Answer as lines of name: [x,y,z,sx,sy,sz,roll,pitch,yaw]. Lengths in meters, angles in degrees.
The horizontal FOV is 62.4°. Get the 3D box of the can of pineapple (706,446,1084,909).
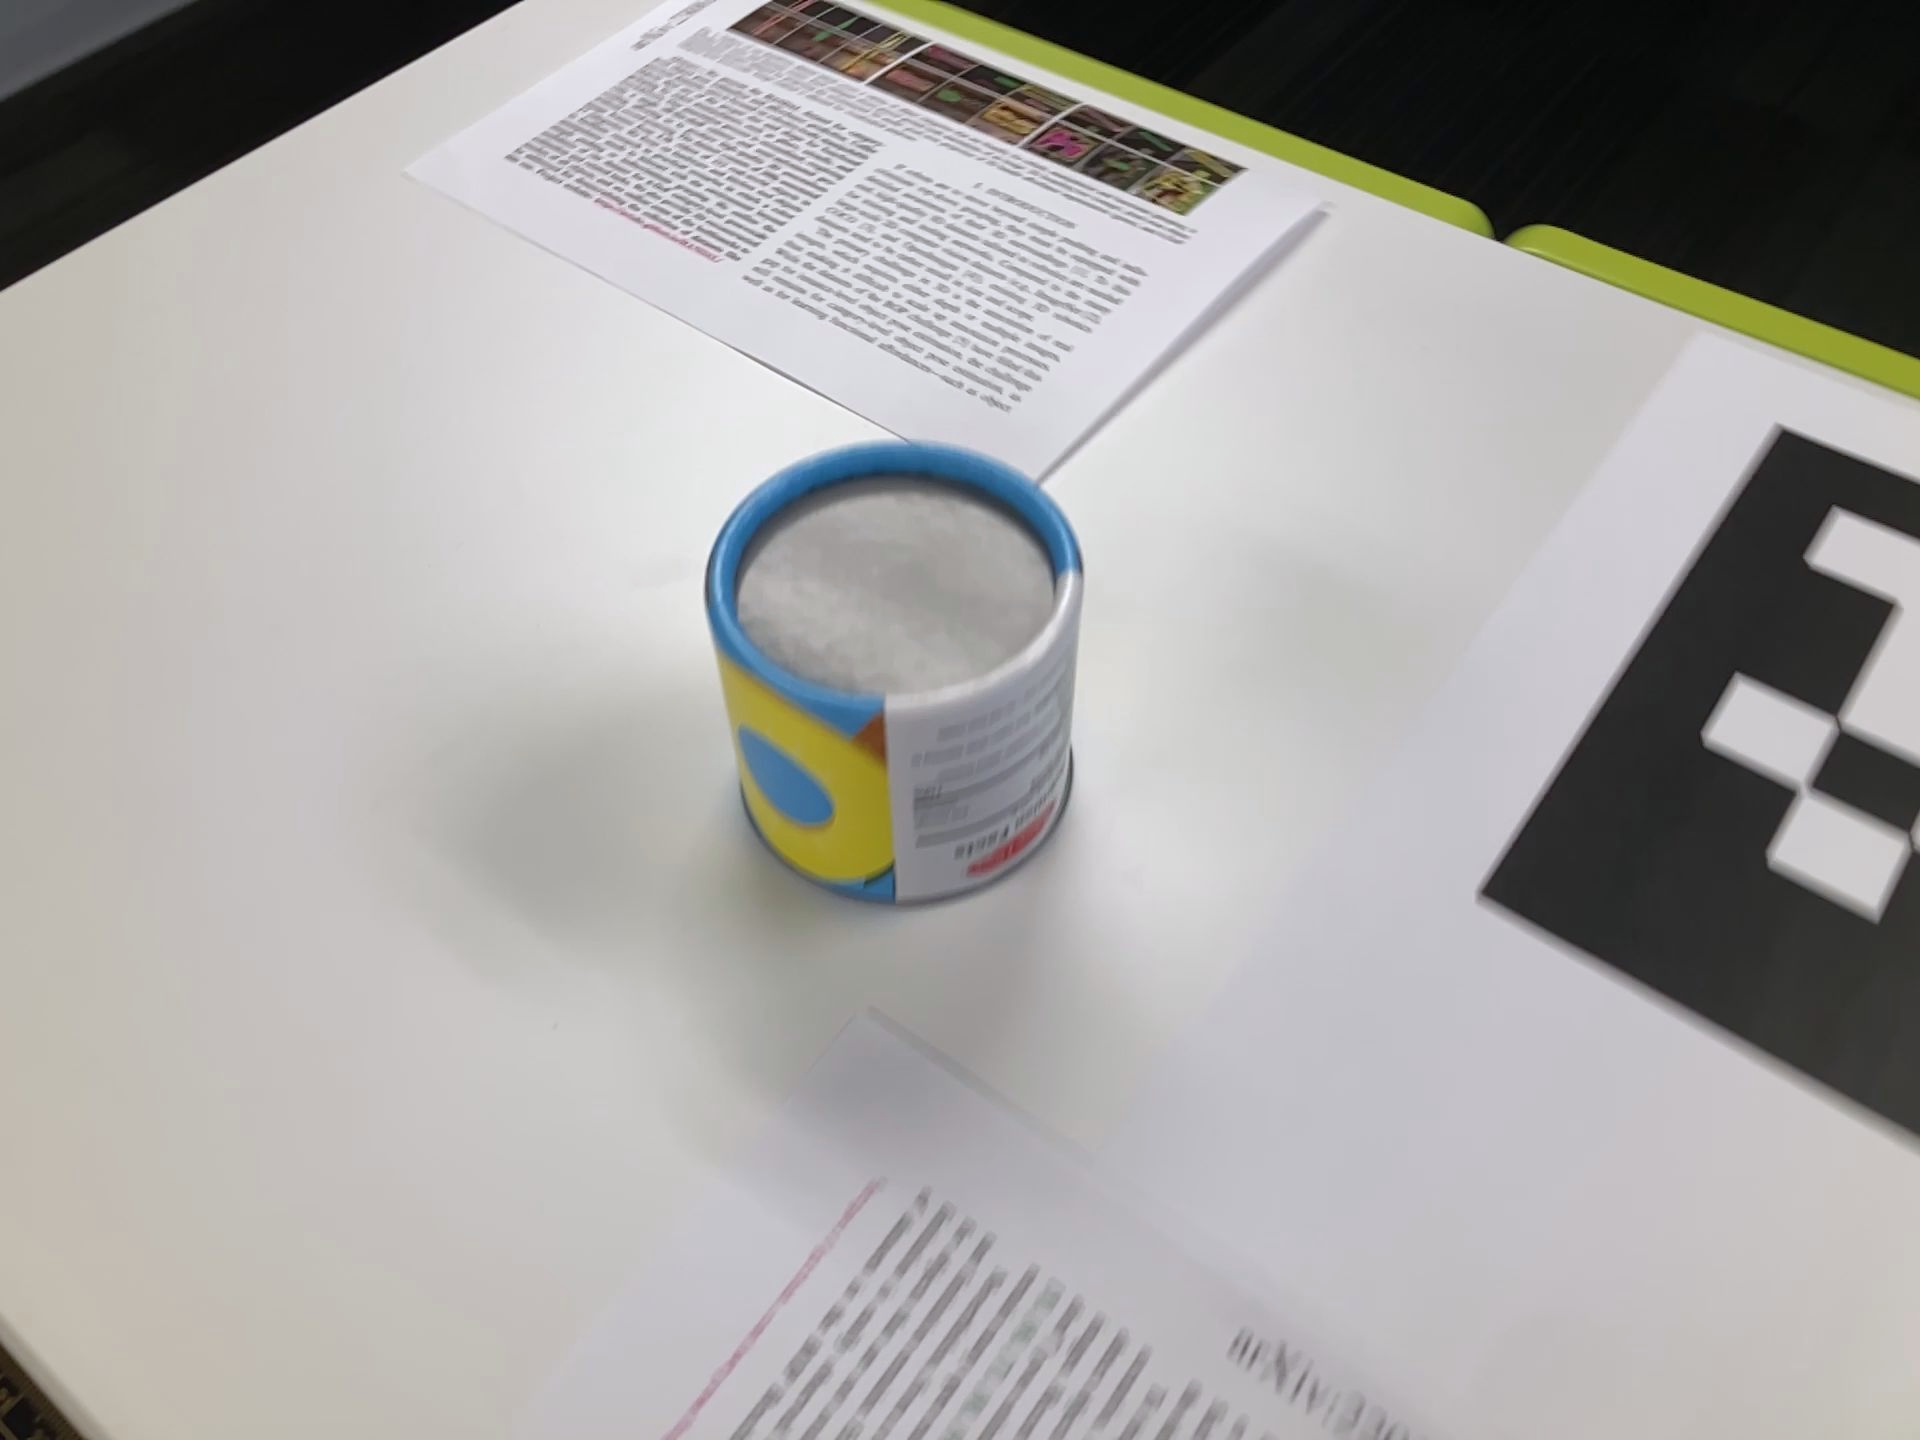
can of pineapple: [-0.012,-0.009,0.295,0.071,0.058,0.071,0,51,1]
